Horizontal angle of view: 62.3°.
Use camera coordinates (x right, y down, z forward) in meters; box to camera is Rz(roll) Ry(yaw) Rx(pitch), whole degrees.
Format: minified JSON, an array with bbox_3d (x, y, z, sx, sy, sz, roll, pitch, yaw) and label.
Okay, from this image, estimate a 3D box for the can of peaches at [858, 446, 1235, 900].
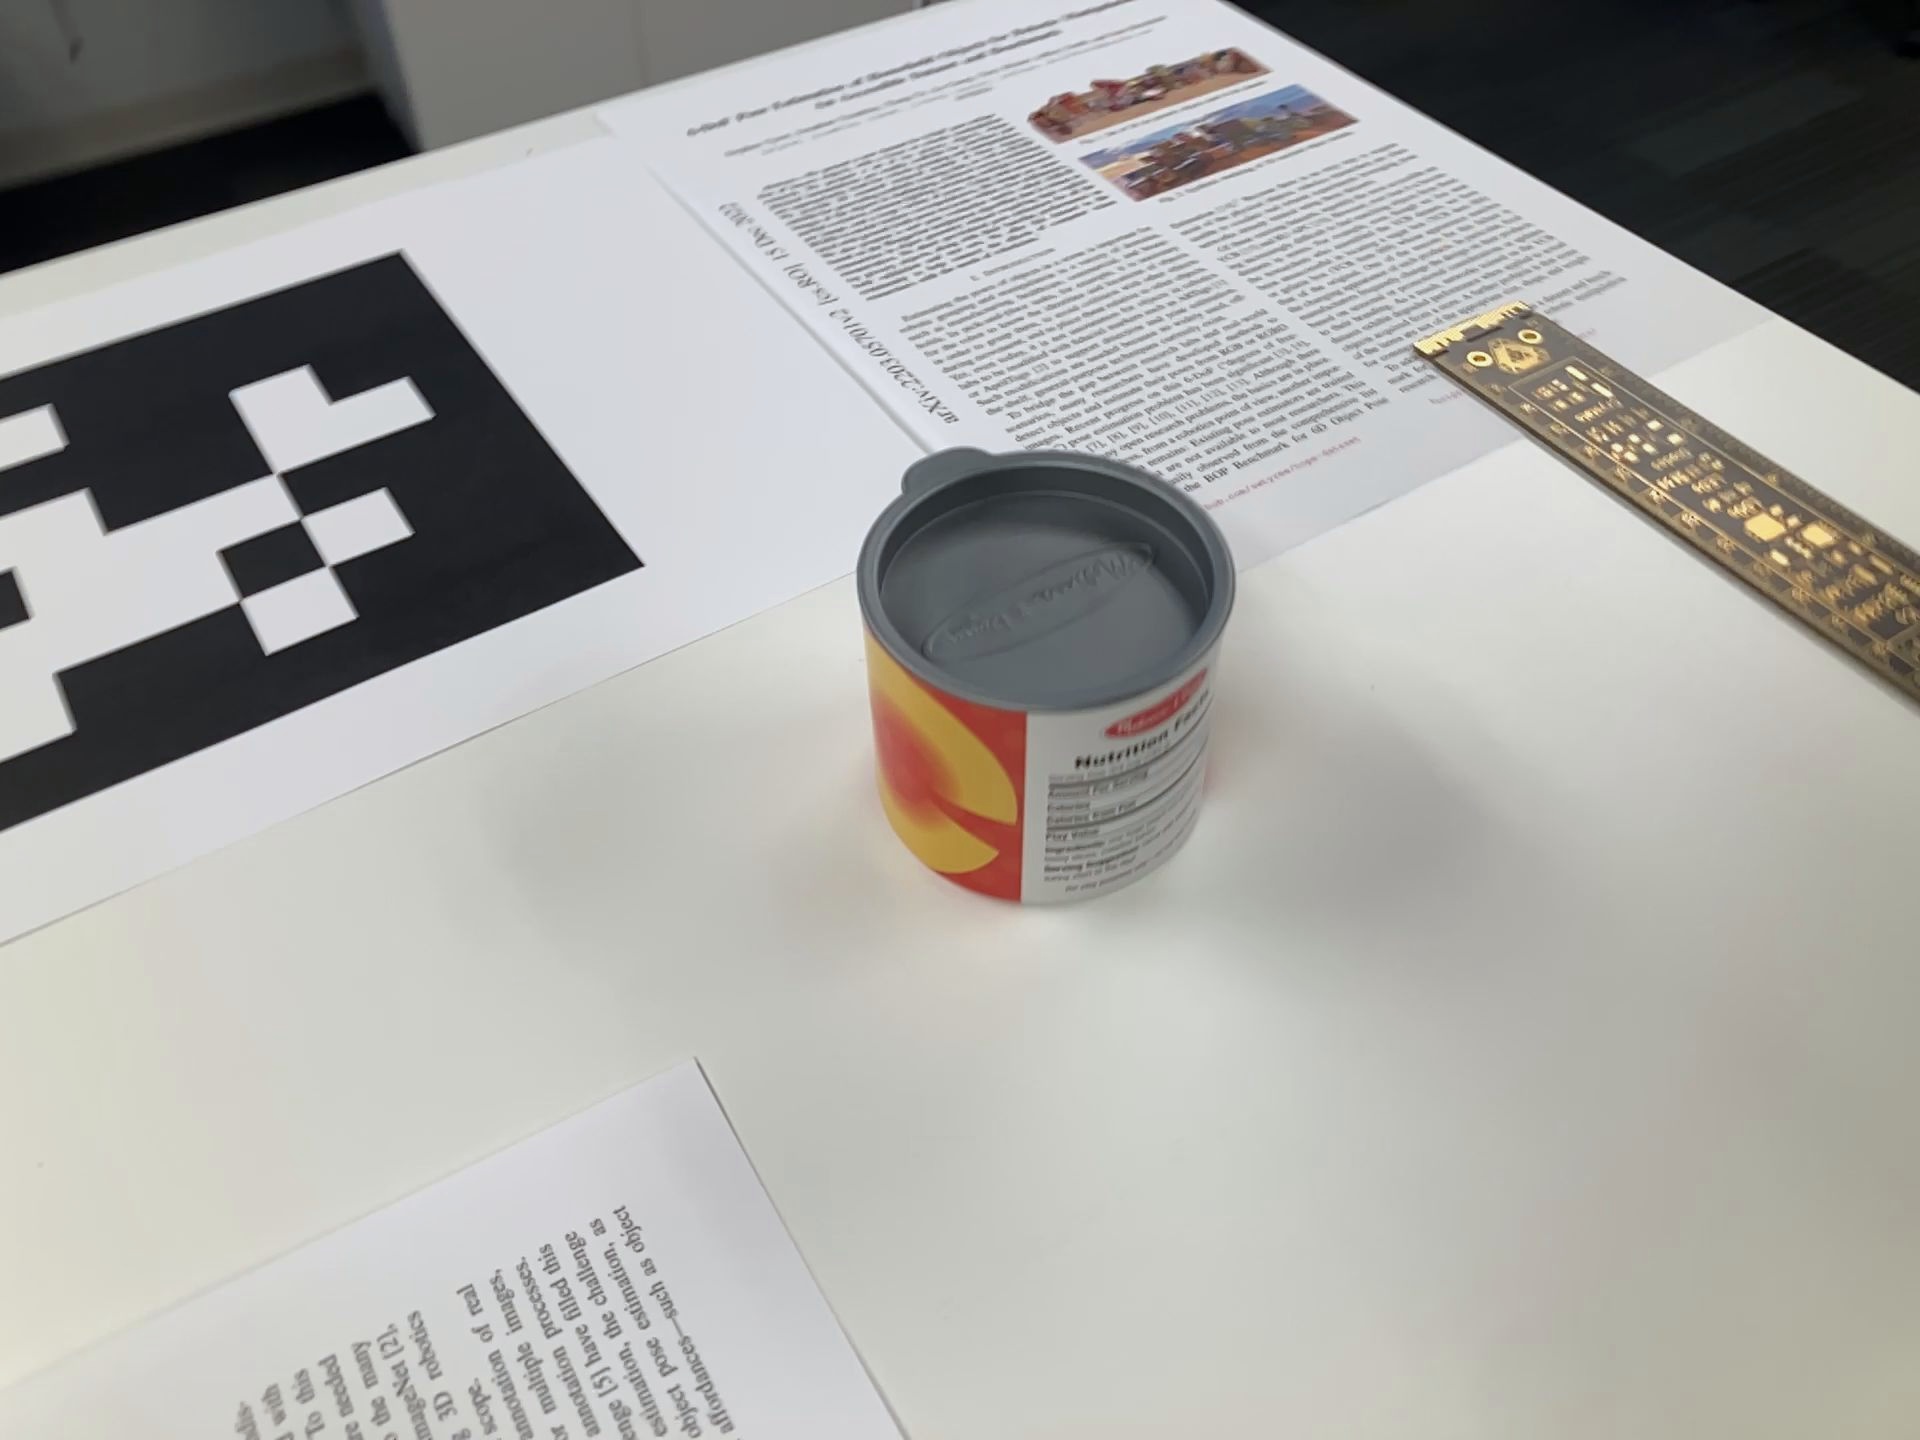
[{"bbox_3d":[0.014,-0.010,0.301,0.071,0.058,0.071,-1,47,1],"label":"can of peaches"}]
